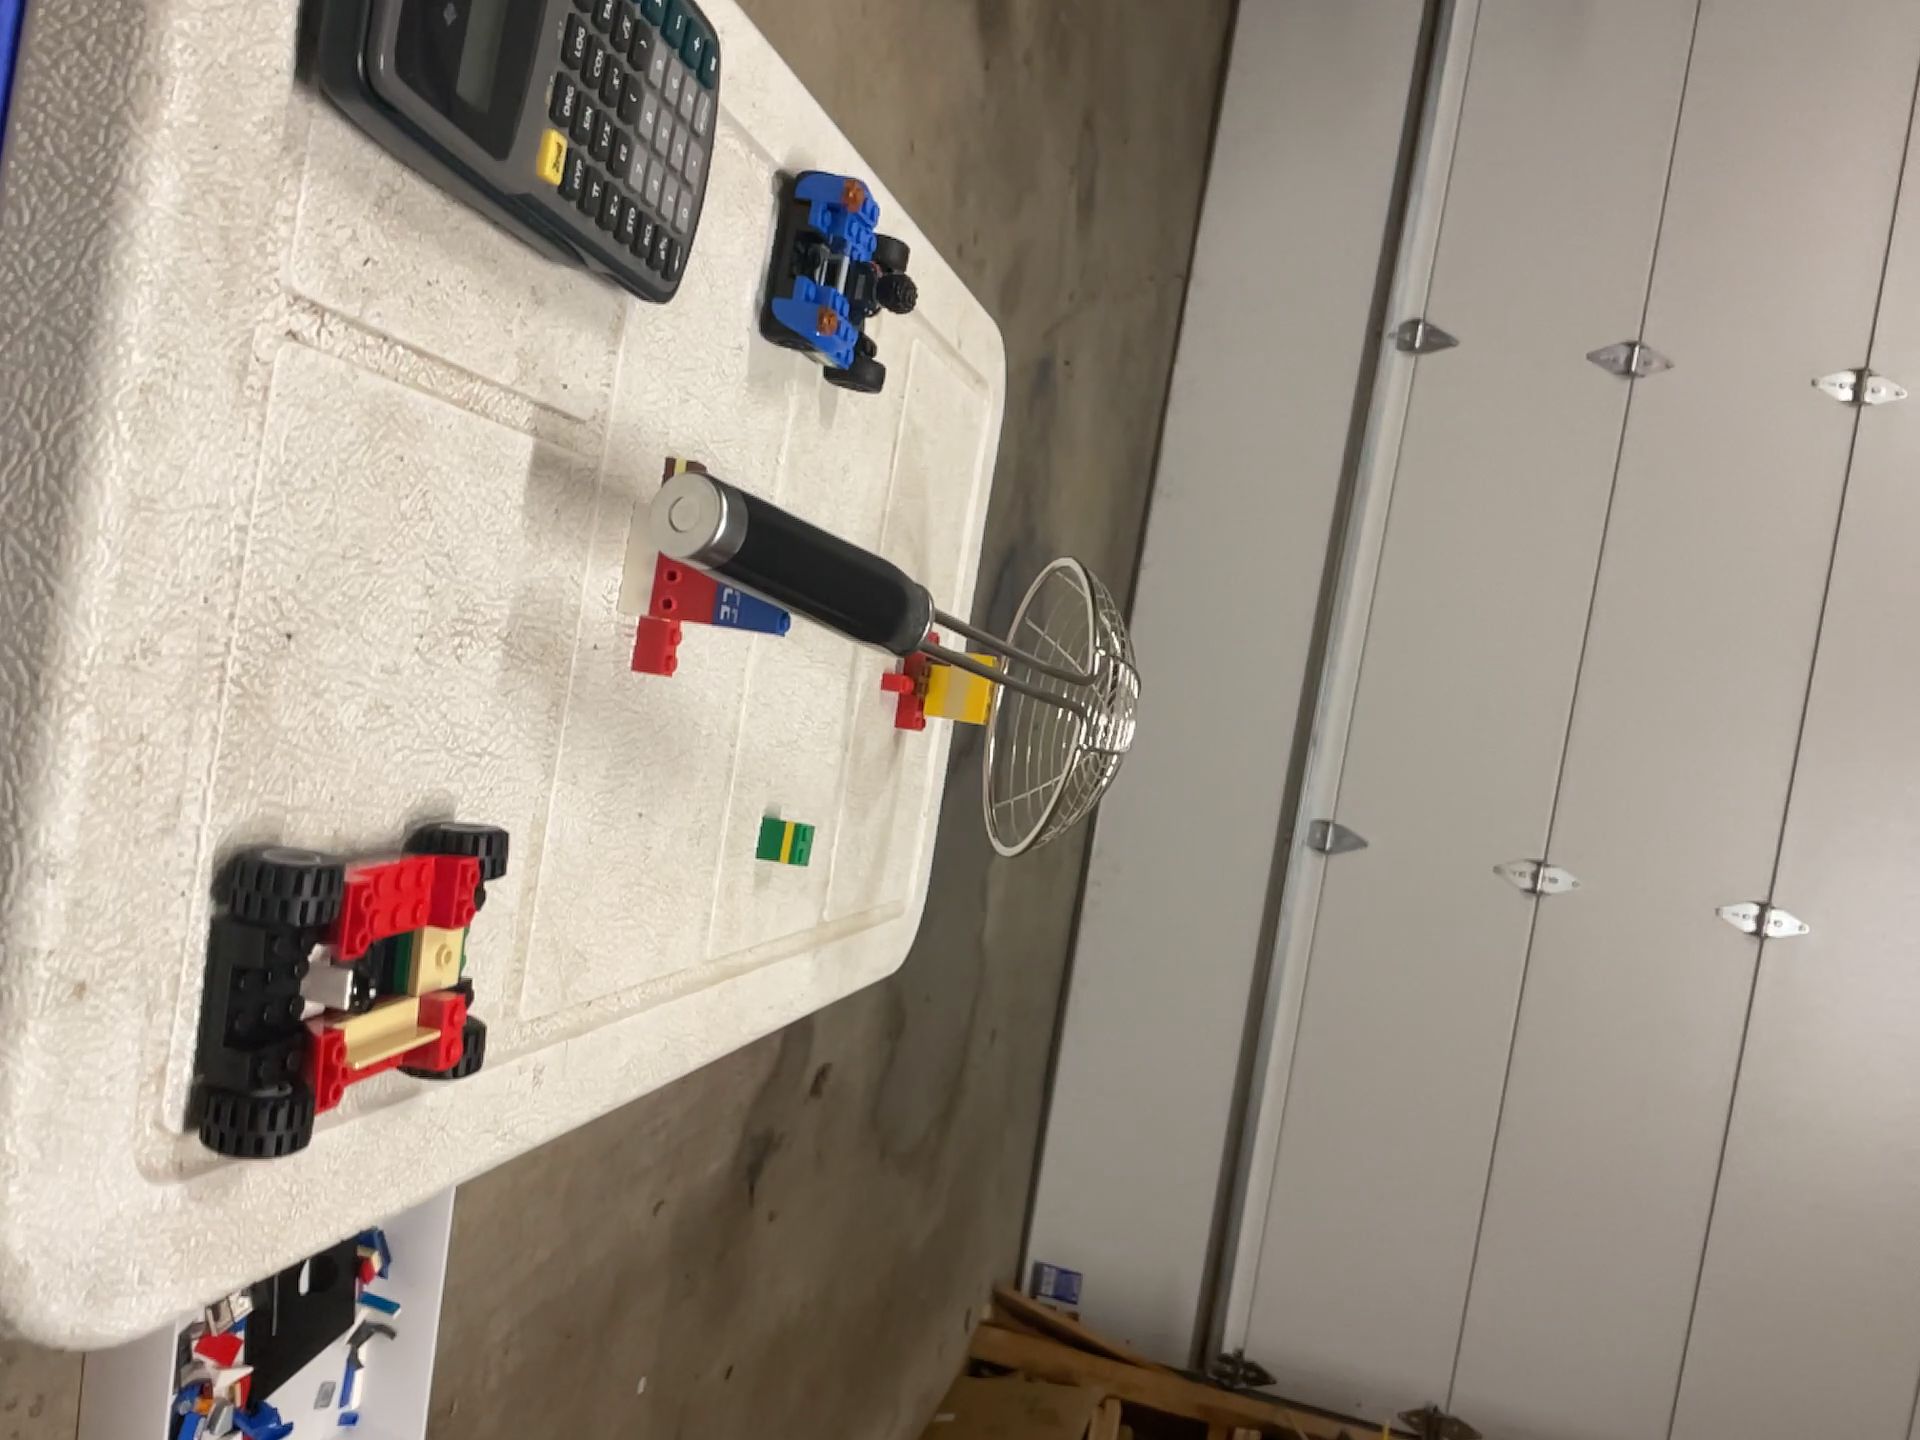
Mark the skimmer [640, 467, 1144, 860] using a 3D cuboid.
[{"bbox_3d":[-0.018,-0.024,0.545,0.363,0.090,0.127,20,80,-64],"label":"skimmer"}]
